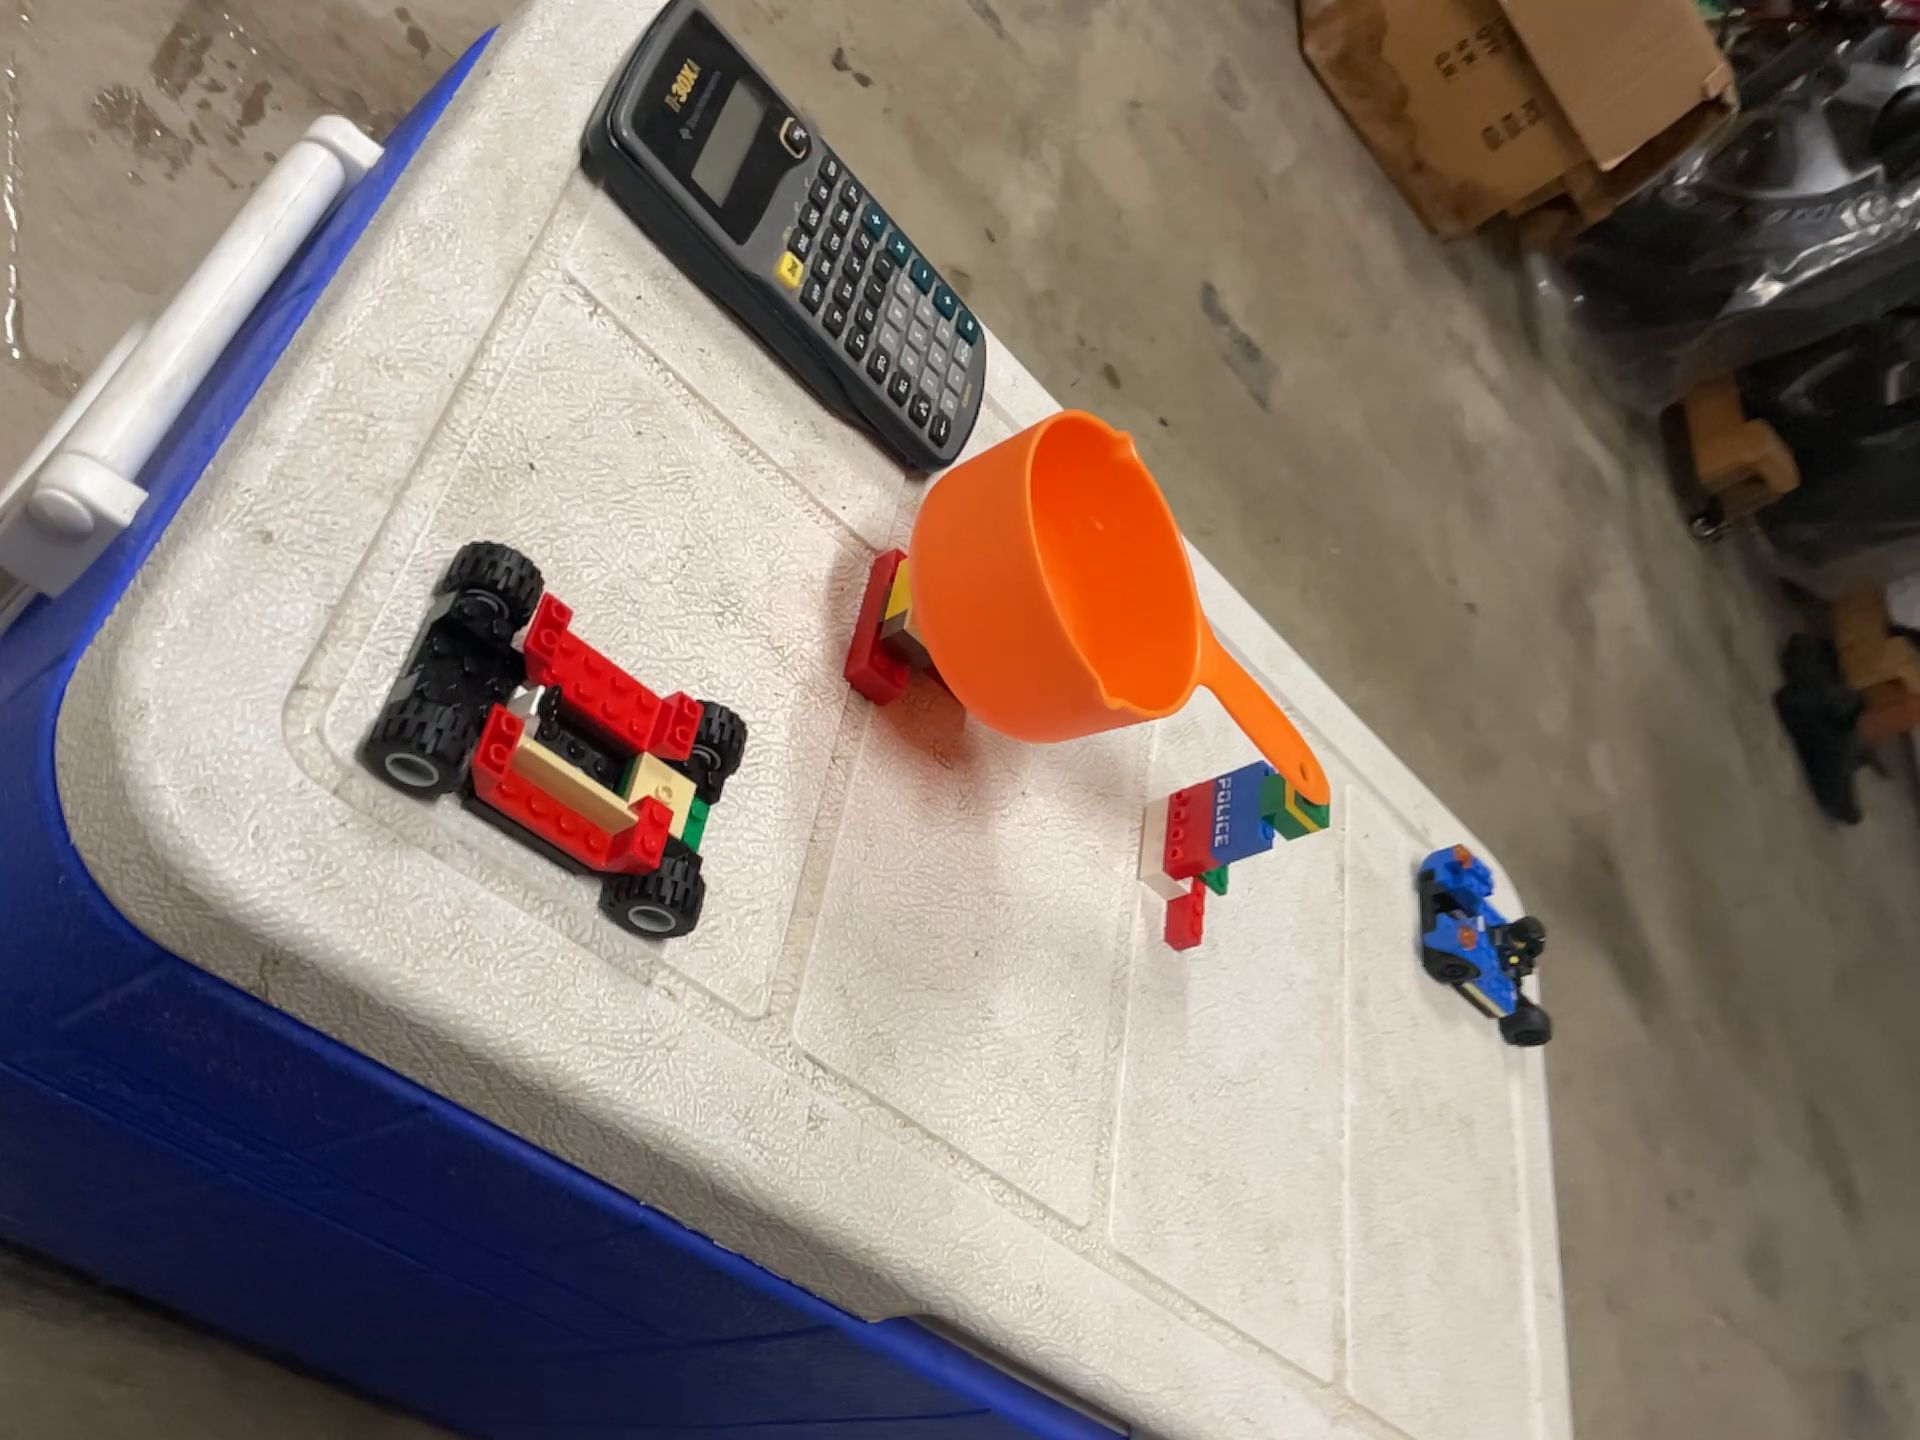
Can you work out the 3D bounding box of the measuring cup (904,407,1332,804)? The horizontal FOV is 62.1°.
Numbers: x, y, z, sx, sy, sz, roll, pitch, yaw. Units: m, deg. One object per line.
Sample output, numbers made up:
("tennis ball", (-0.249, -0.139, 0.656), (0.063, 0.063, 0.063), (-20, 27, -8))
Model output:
("measuring cup", (0.049, -0.015, 0.469), (0.173, 0.052, 0.095), (41, 43, -39))
